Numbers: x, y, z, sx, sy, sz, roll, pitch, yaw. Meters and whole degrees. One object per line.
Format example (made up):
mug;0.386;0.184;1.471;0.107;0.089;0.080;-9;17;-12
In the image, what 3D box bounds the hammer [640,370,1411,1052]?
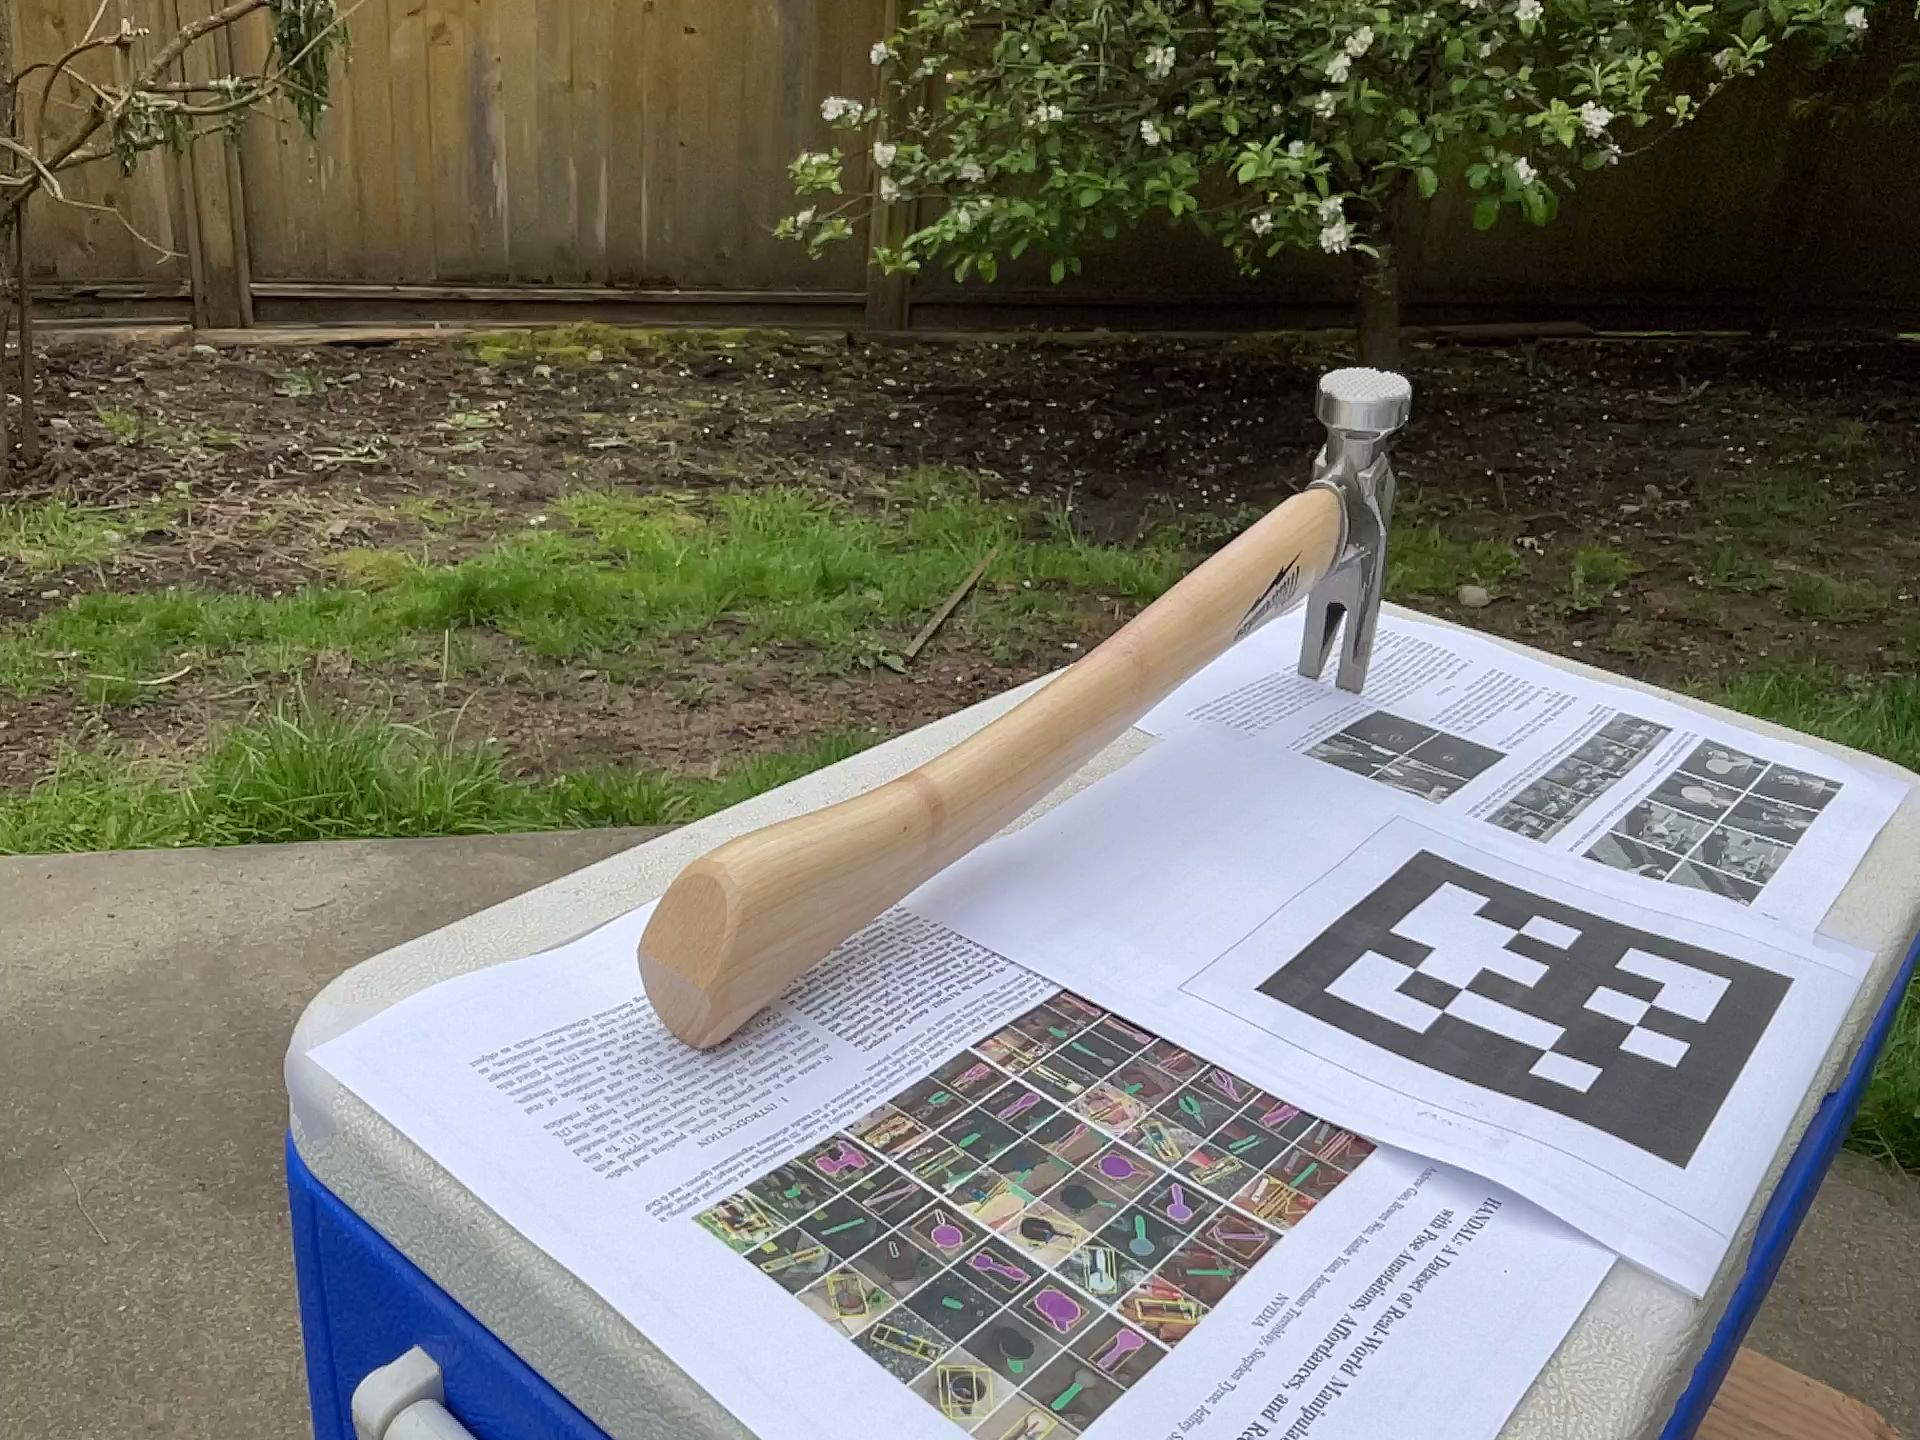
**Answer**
hammer;0.052;0.000;0.577;0.038;0.146;0.410;22;39;33
